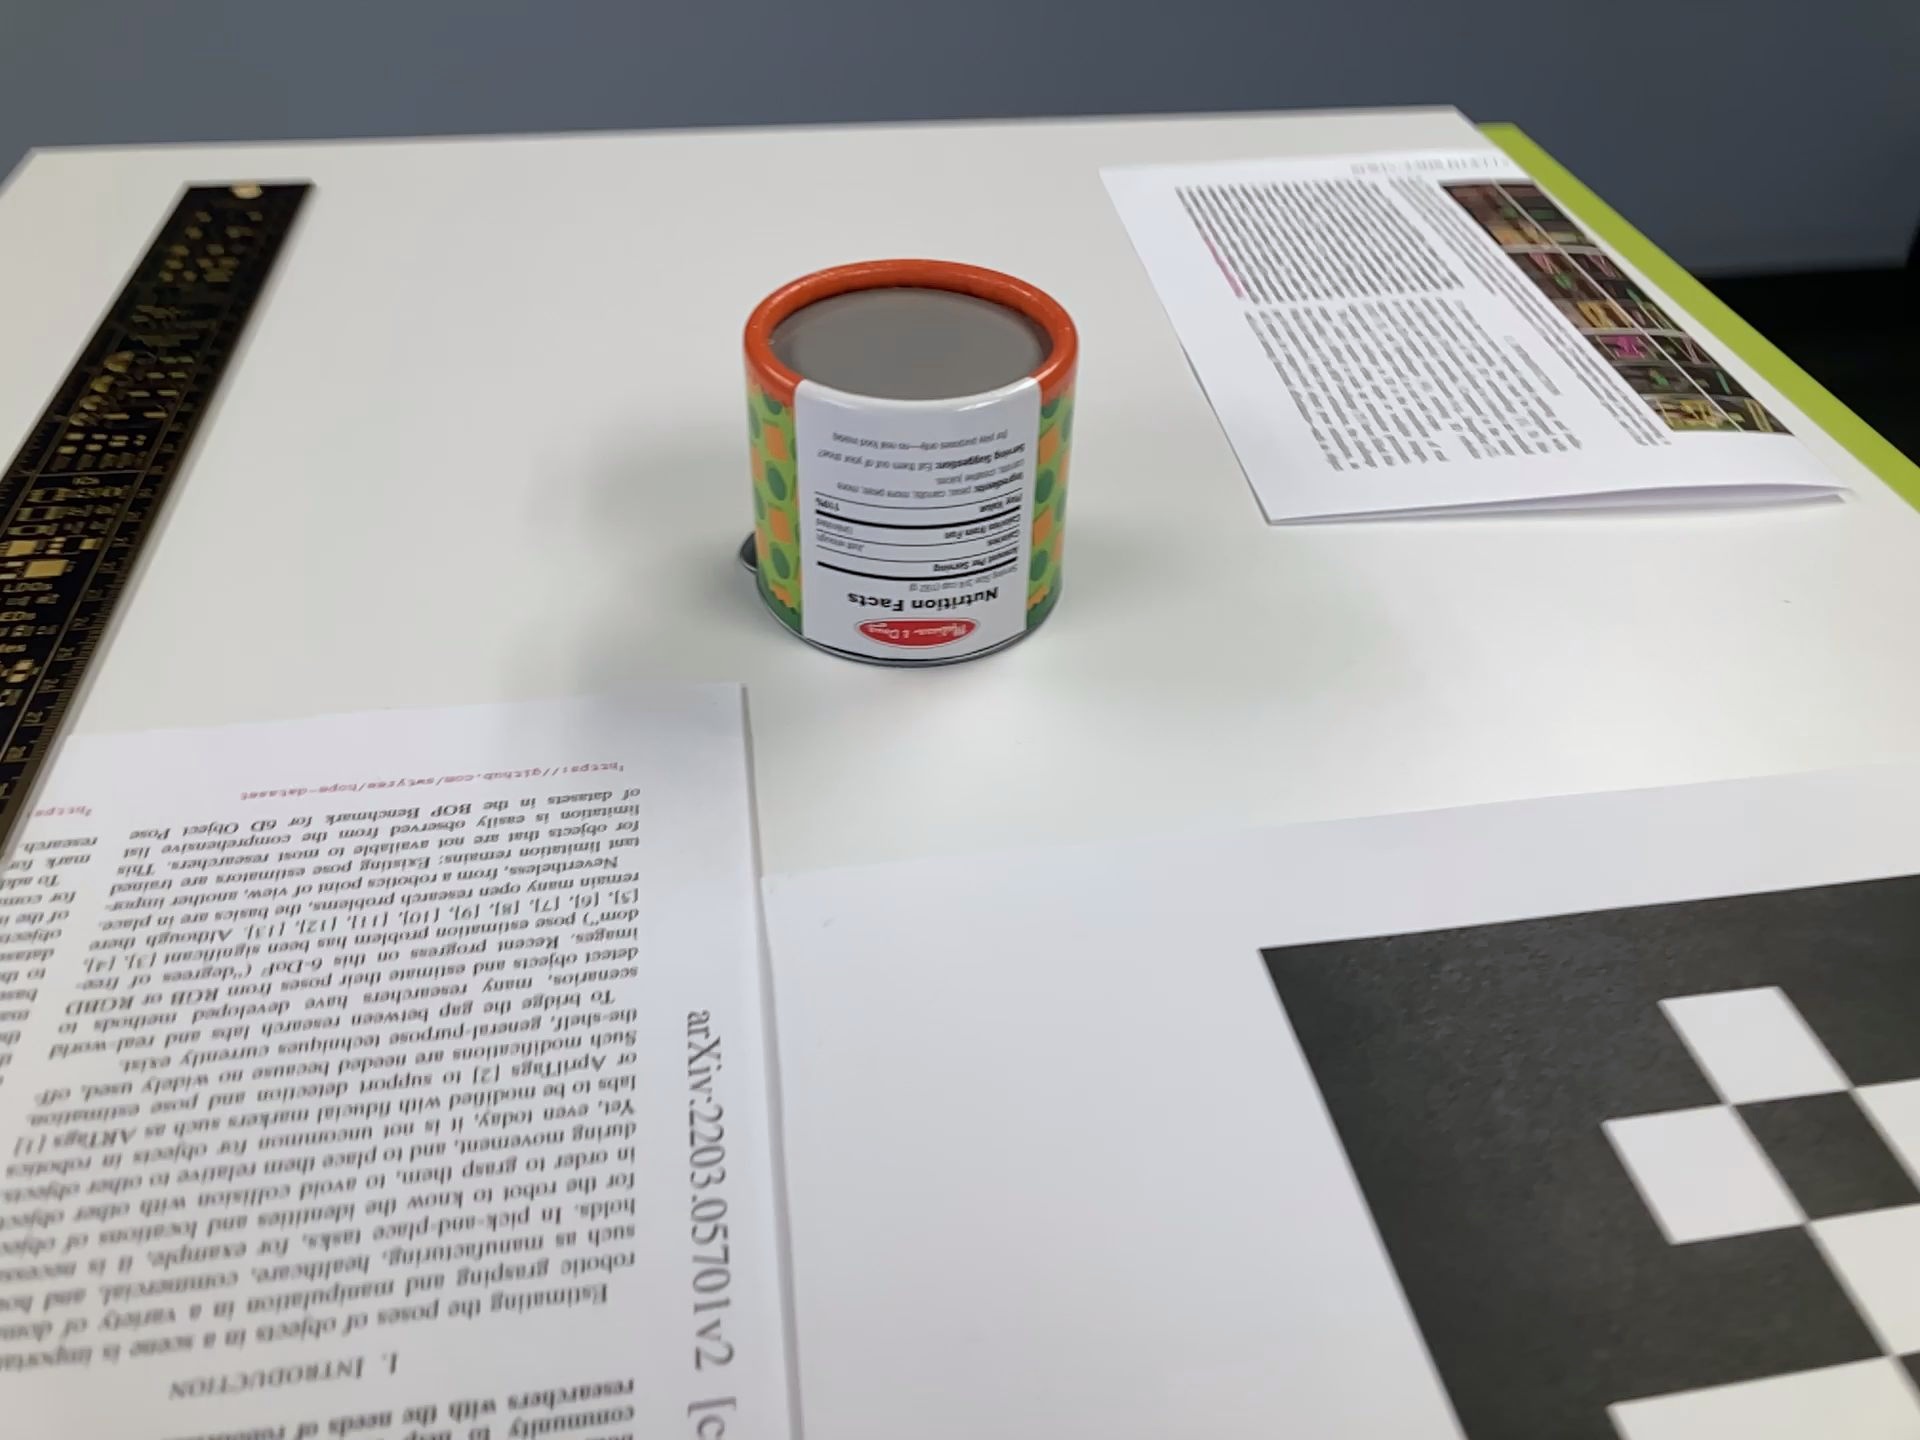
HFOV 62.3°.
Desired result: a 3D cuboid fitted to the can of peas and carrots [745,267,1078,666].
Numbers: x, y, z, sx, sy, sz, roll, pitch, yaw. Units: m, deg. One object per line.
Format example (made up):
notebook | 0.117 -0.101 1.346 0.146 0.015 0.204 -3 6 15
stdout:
can of peas and carrots | -0.011 -0.055 0.330 0.071 0.059 0.071 2 39 -1
